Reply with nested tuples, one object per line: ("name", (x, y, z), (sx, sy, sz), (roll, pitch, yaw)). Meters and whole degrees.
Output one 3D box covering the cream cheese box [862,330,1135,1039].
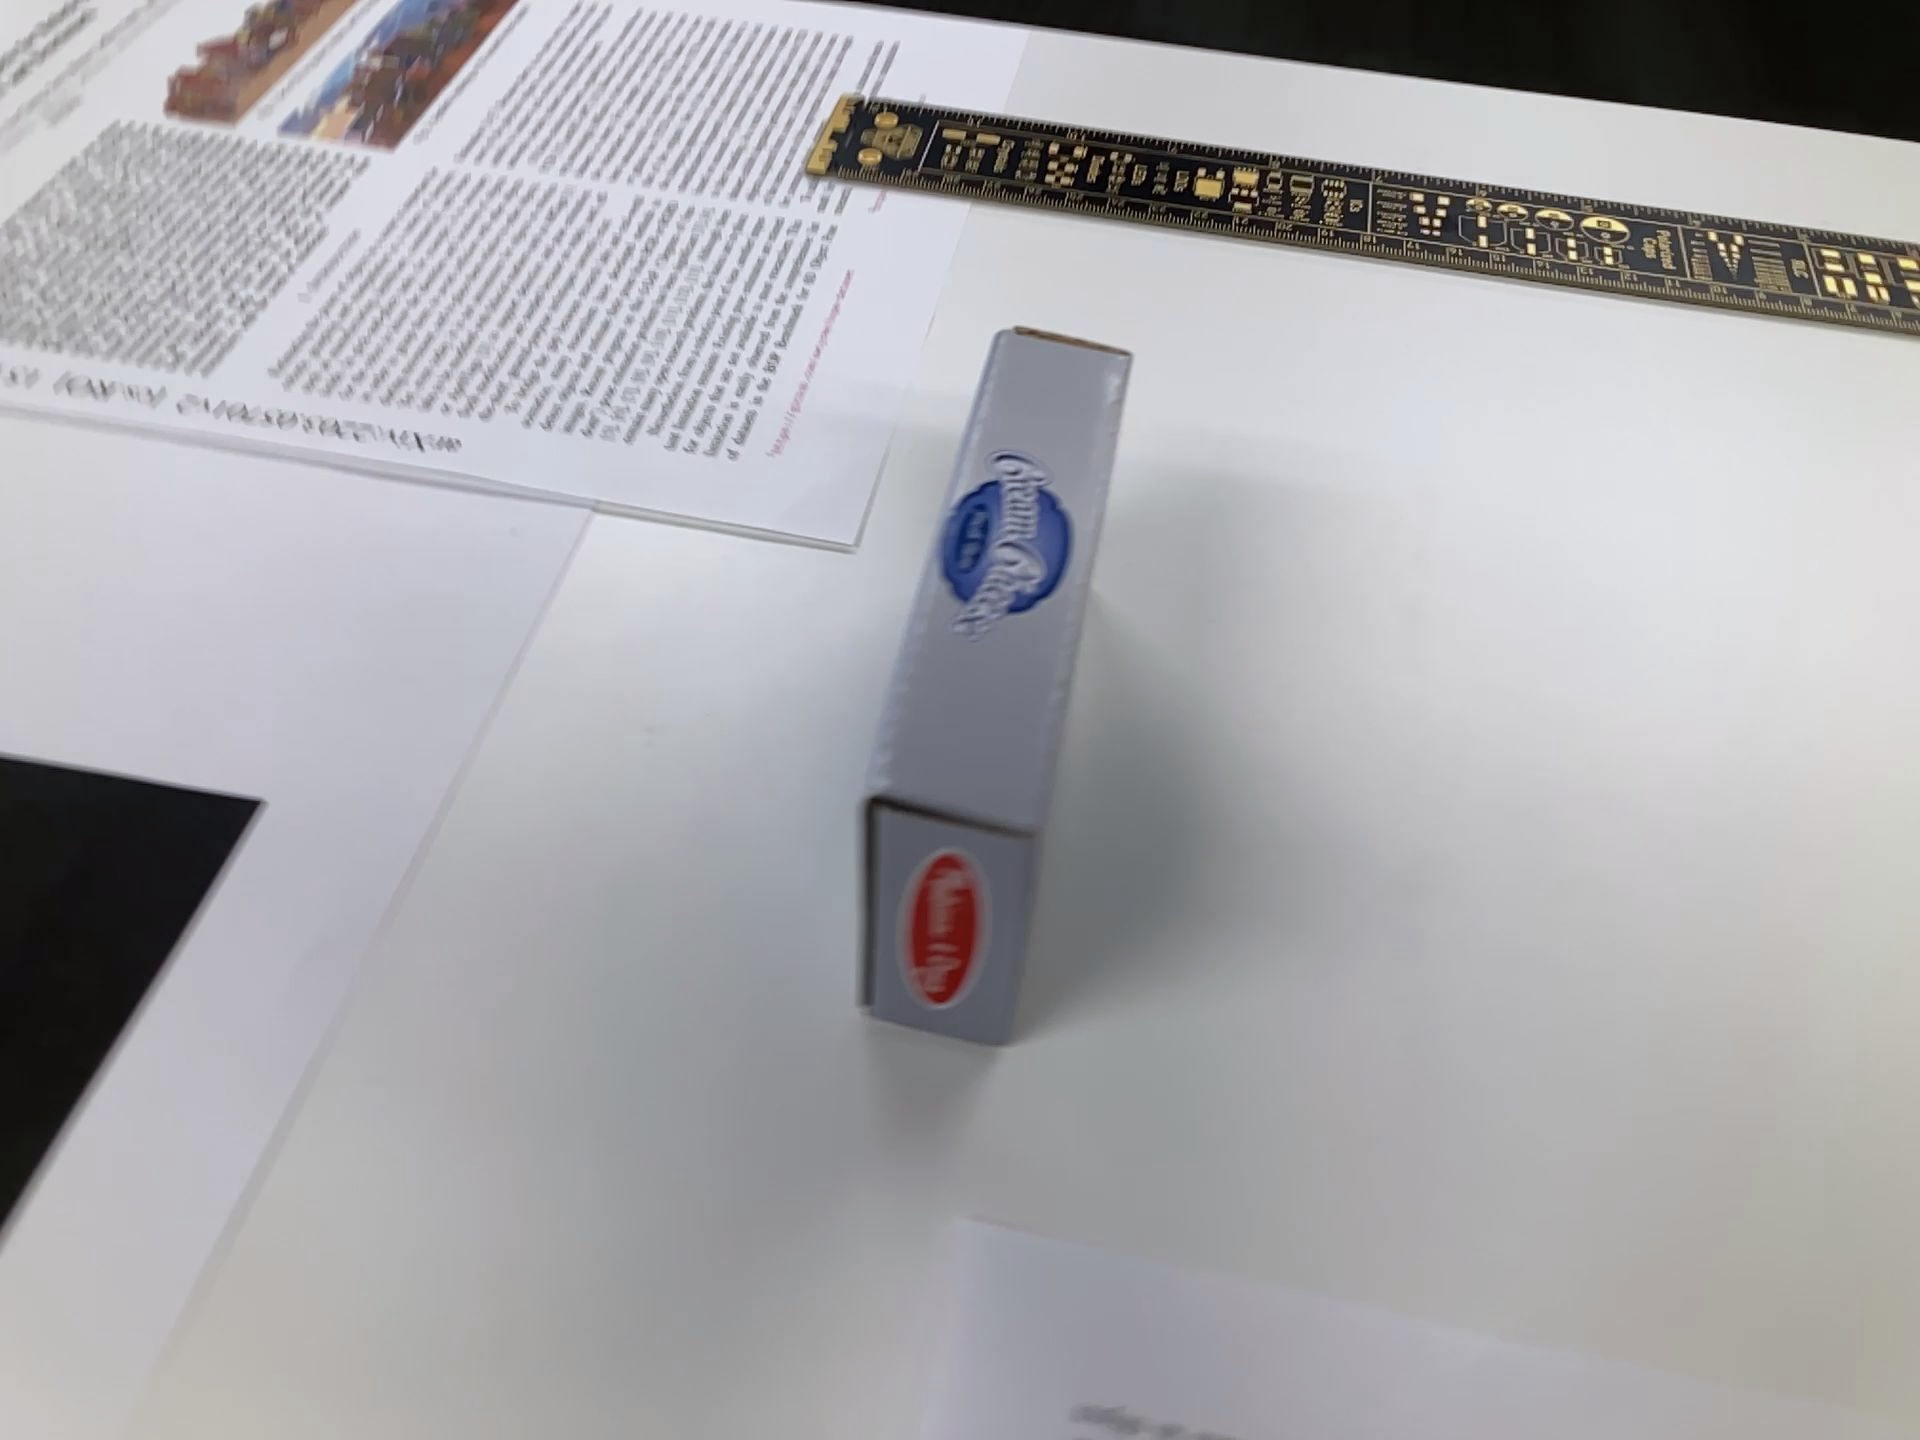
("cream cheese box", (0.006, -0.009, 0.248), (0.024, 0.053, 0.104), (11, 49, 4))
